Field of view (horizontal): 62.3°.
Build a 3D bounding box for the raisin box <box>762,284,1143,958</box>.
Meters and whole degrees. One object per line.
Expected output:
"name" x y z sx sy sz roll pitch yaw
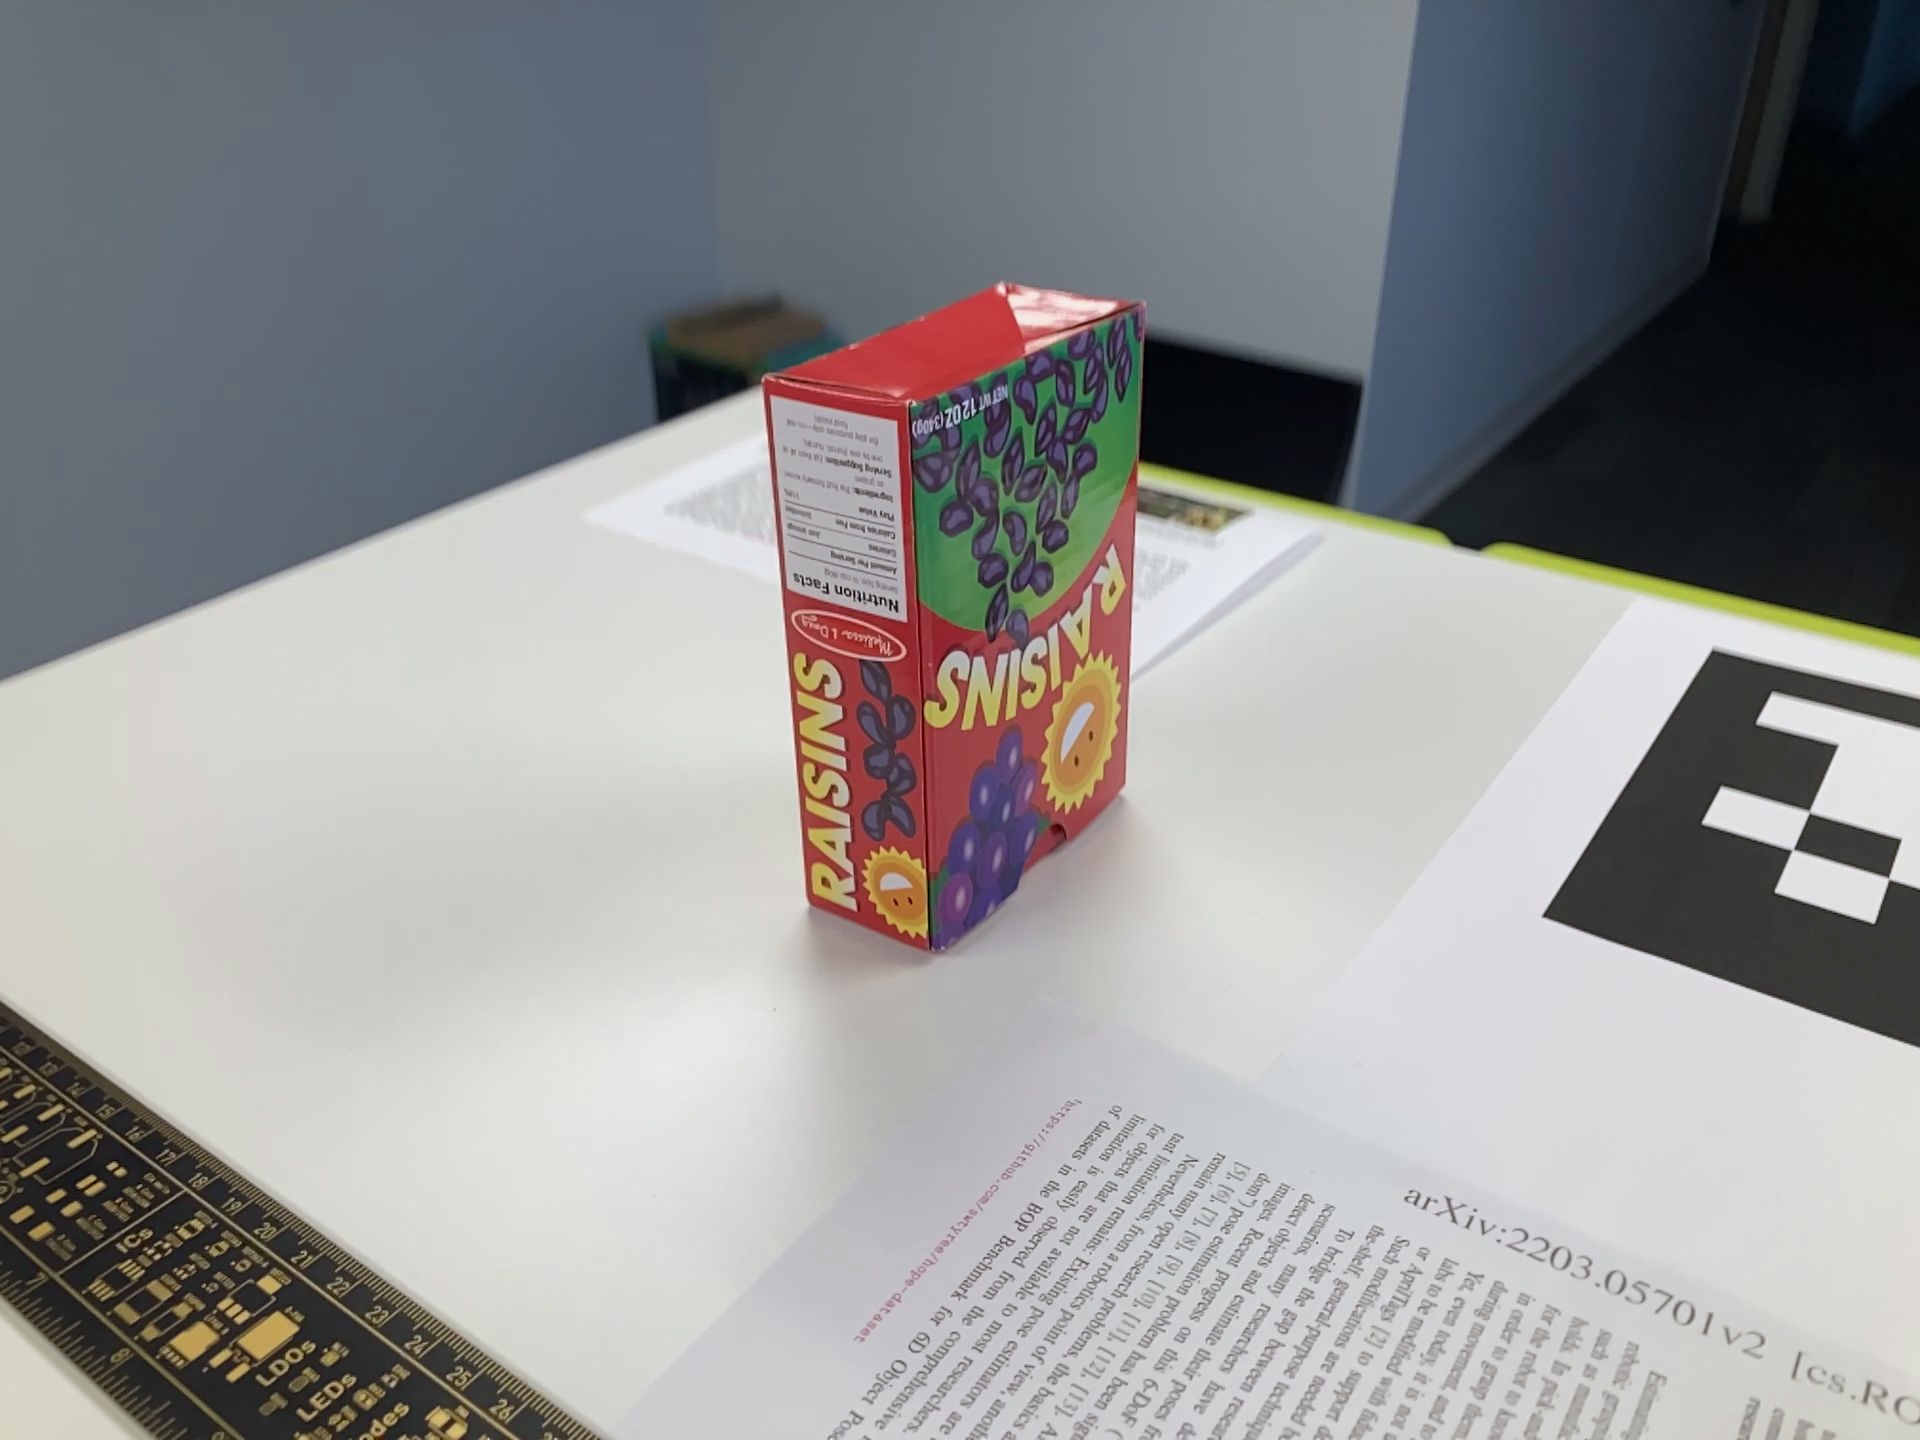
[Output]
"raisin box" 0.003 -0.023 0.347 0.040 0.123 0.086 17 33 30
